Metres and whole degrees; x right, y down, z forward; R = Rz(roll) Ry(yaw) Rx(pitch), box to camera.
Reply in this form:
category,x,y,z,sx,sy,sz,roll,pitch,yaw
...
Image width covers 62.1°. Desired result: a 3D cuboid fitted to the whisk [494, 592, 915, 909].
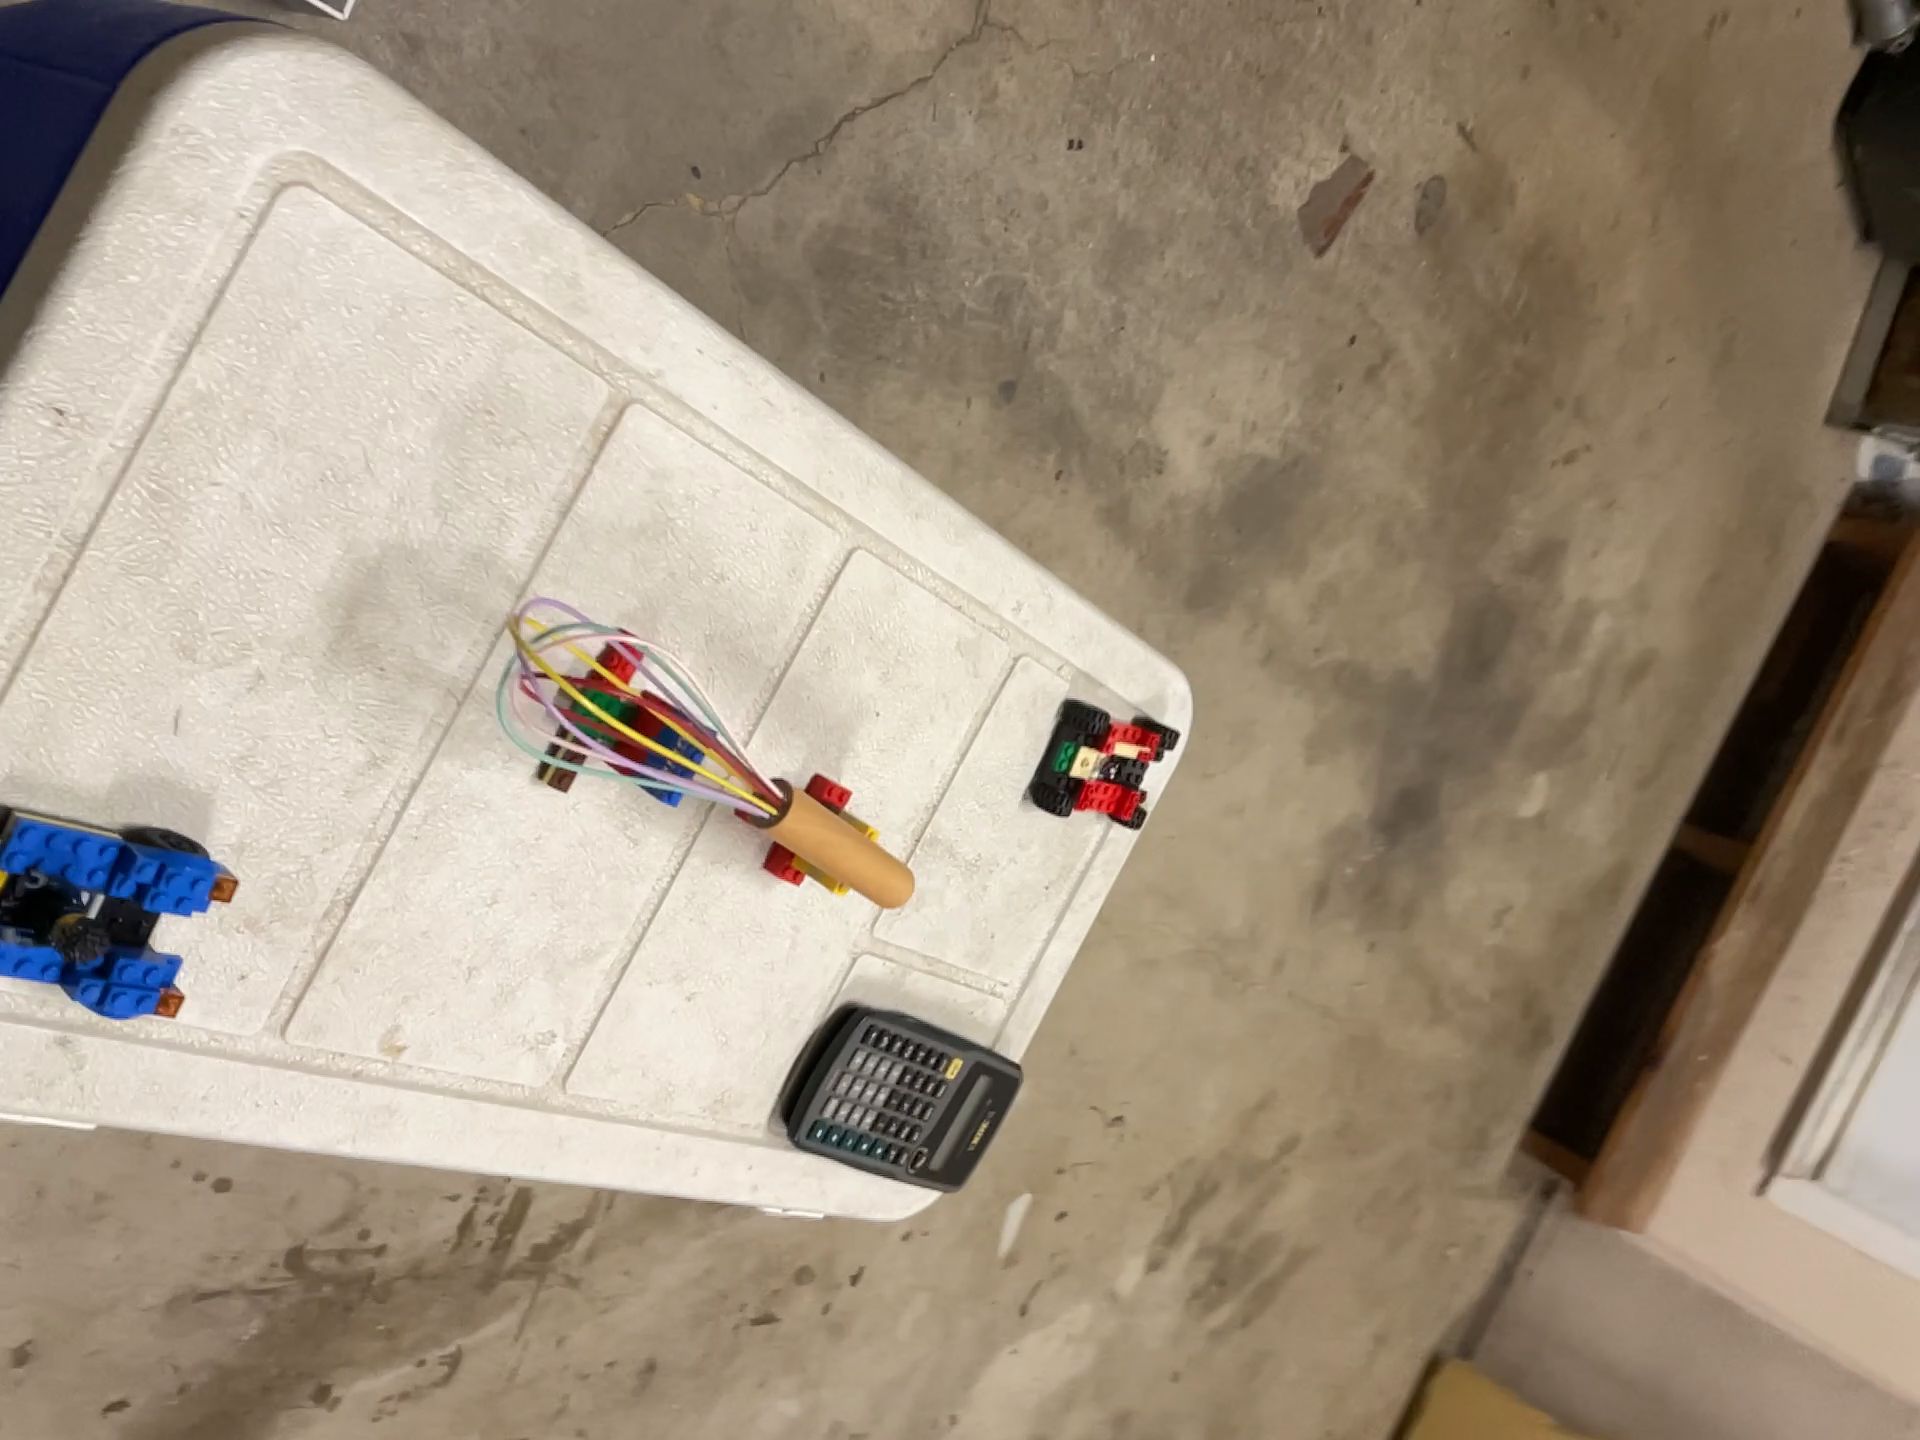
category,x,y,z,sx,sy,sz,roll,pitch,yaw
whisk,-0.081,0.025,0.577,0.245,0.047,0.051,42,66,-52
